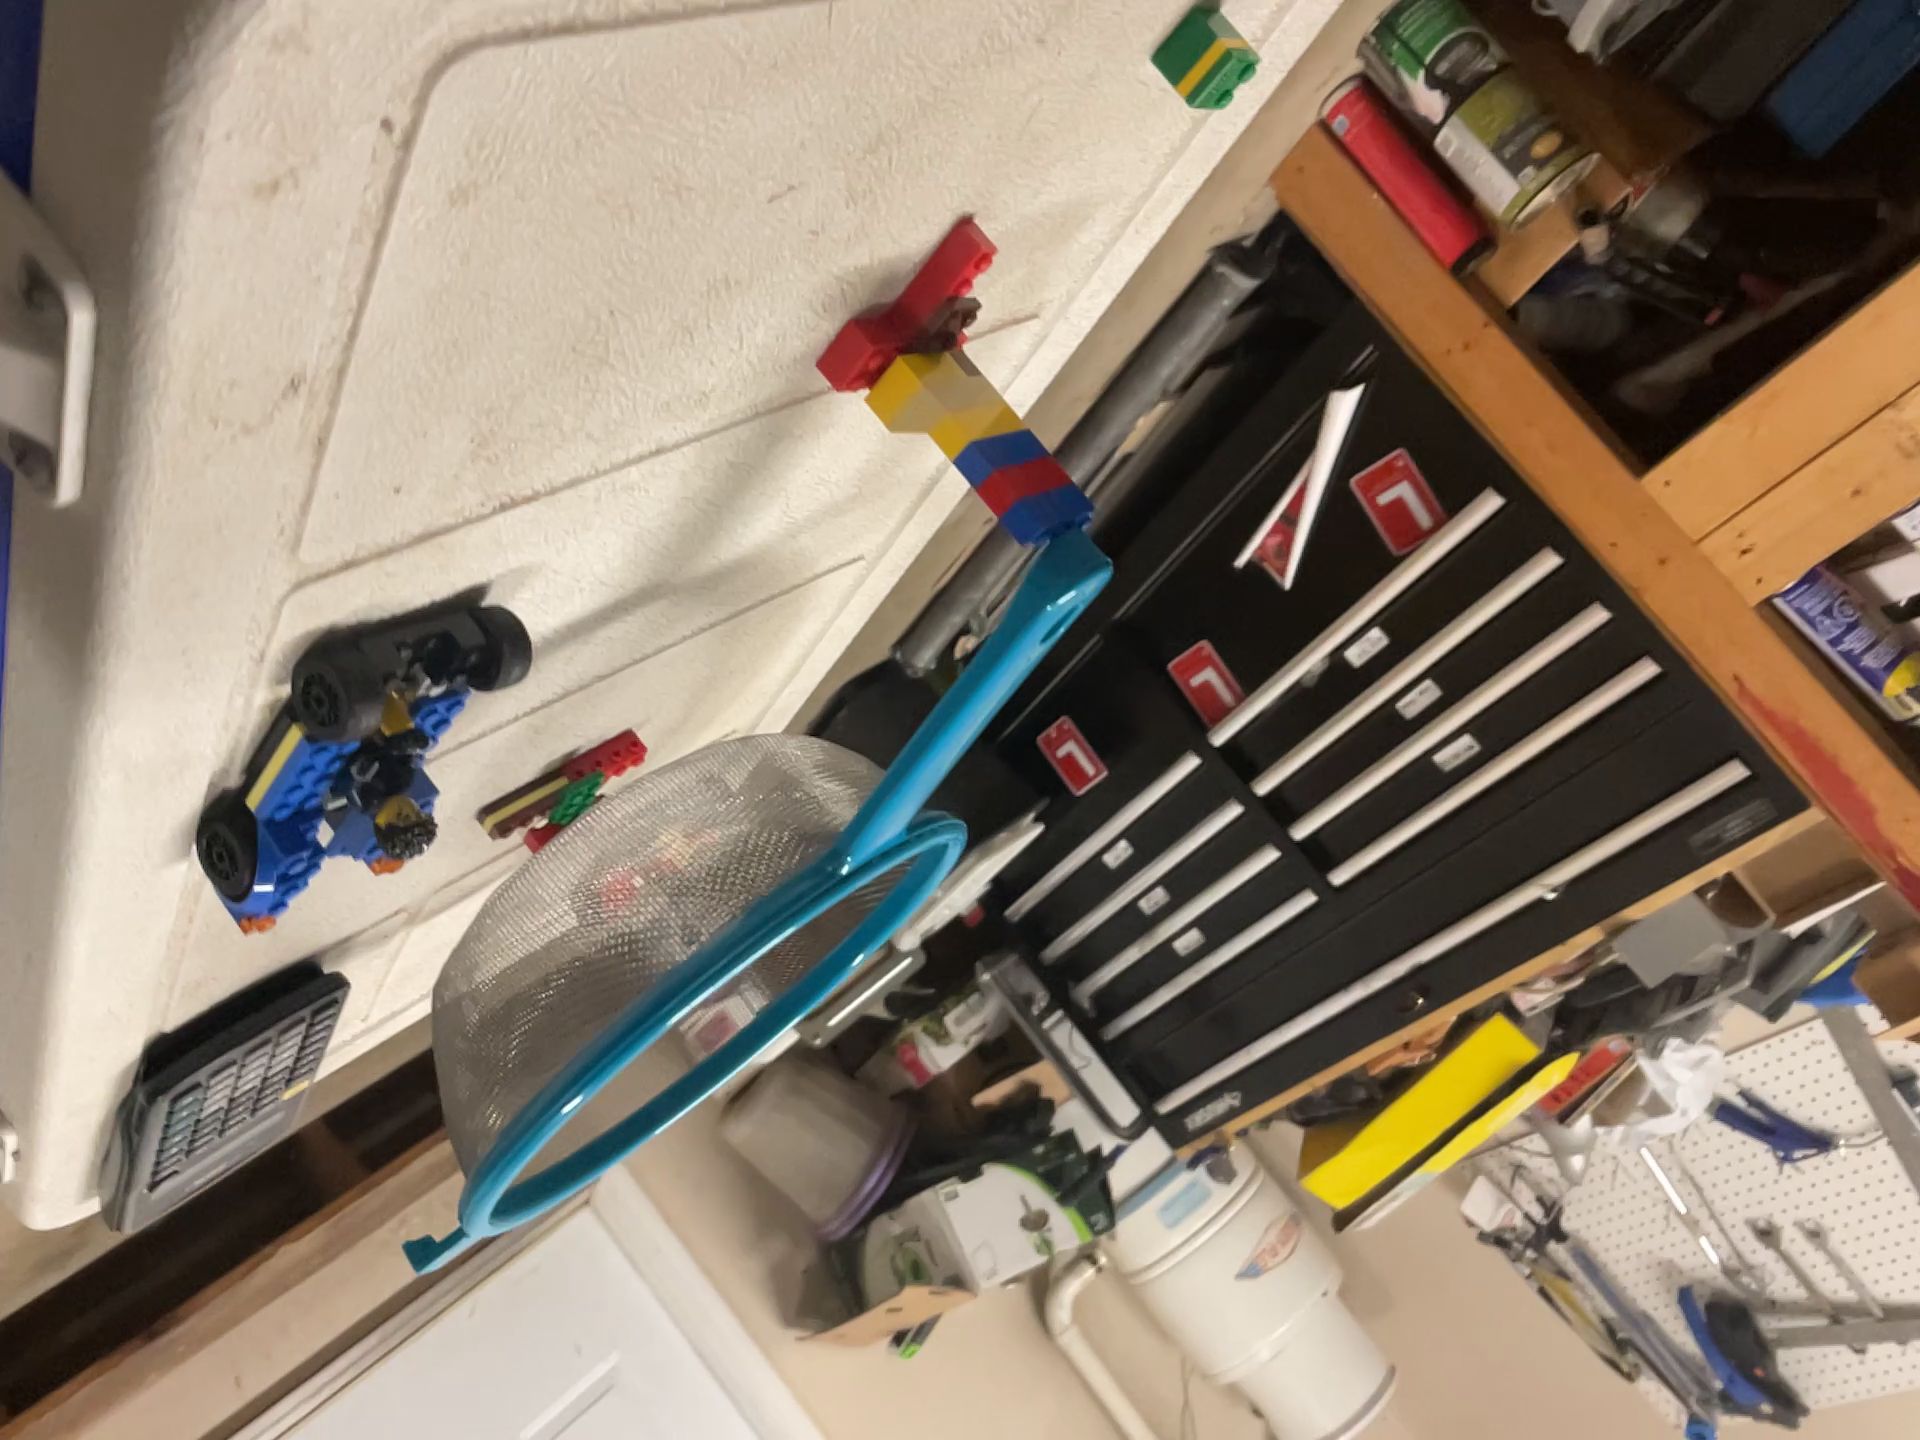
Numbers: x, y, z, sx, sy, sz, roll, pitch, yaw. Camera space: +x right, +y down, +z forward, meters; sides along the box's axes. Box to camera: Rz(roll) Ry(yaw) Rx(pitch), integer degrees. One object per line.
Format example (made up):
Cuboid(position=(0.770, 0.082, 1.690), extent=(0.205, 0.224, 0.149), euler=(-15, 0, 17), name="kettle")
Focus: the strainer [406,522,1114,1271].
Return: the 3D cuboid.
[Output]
Cuboid(position=(-0.074, 0.034, 0.516), extent=(0.211, 0.095, 0.340), euler=(-28, 162, -49), name="strainer")
